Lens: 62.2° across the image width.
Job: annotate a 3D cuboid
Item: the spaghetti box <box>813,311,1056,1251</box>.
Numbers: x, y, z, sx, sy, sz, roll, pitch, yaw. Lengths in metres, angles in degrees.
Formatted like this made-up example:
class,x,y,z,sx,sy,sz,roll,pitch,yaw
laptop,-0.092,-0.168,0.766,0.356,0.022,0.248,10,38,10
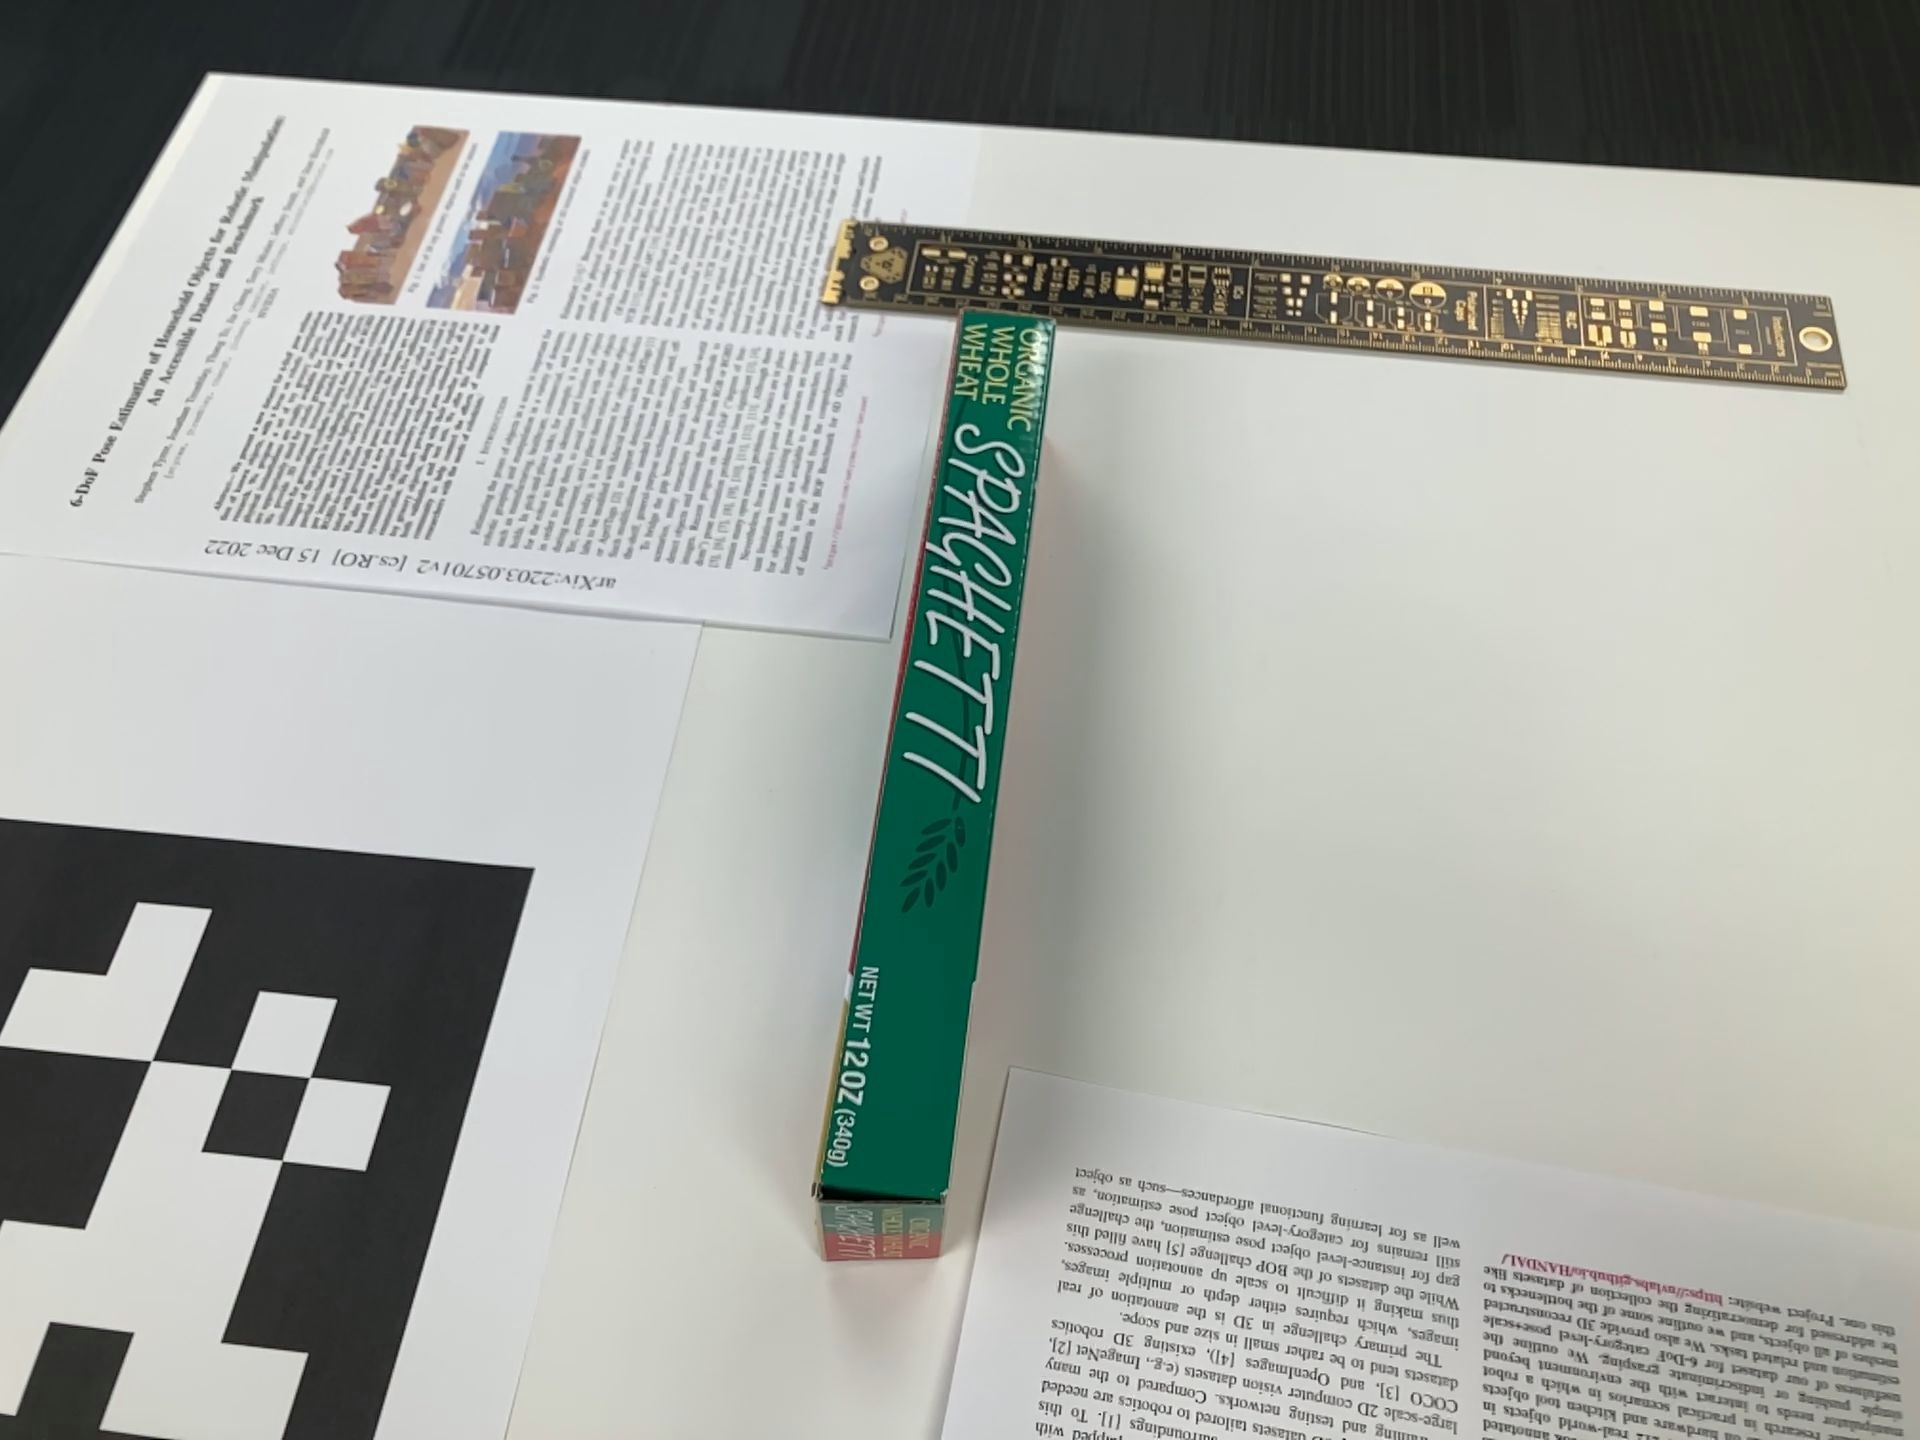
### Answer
class,x,y,z,sx,sy,sz,roll,pitch,yaw
spaghetti box,-0.003,0.002,0.404,0.028,0.050,0.250,7,59,1
